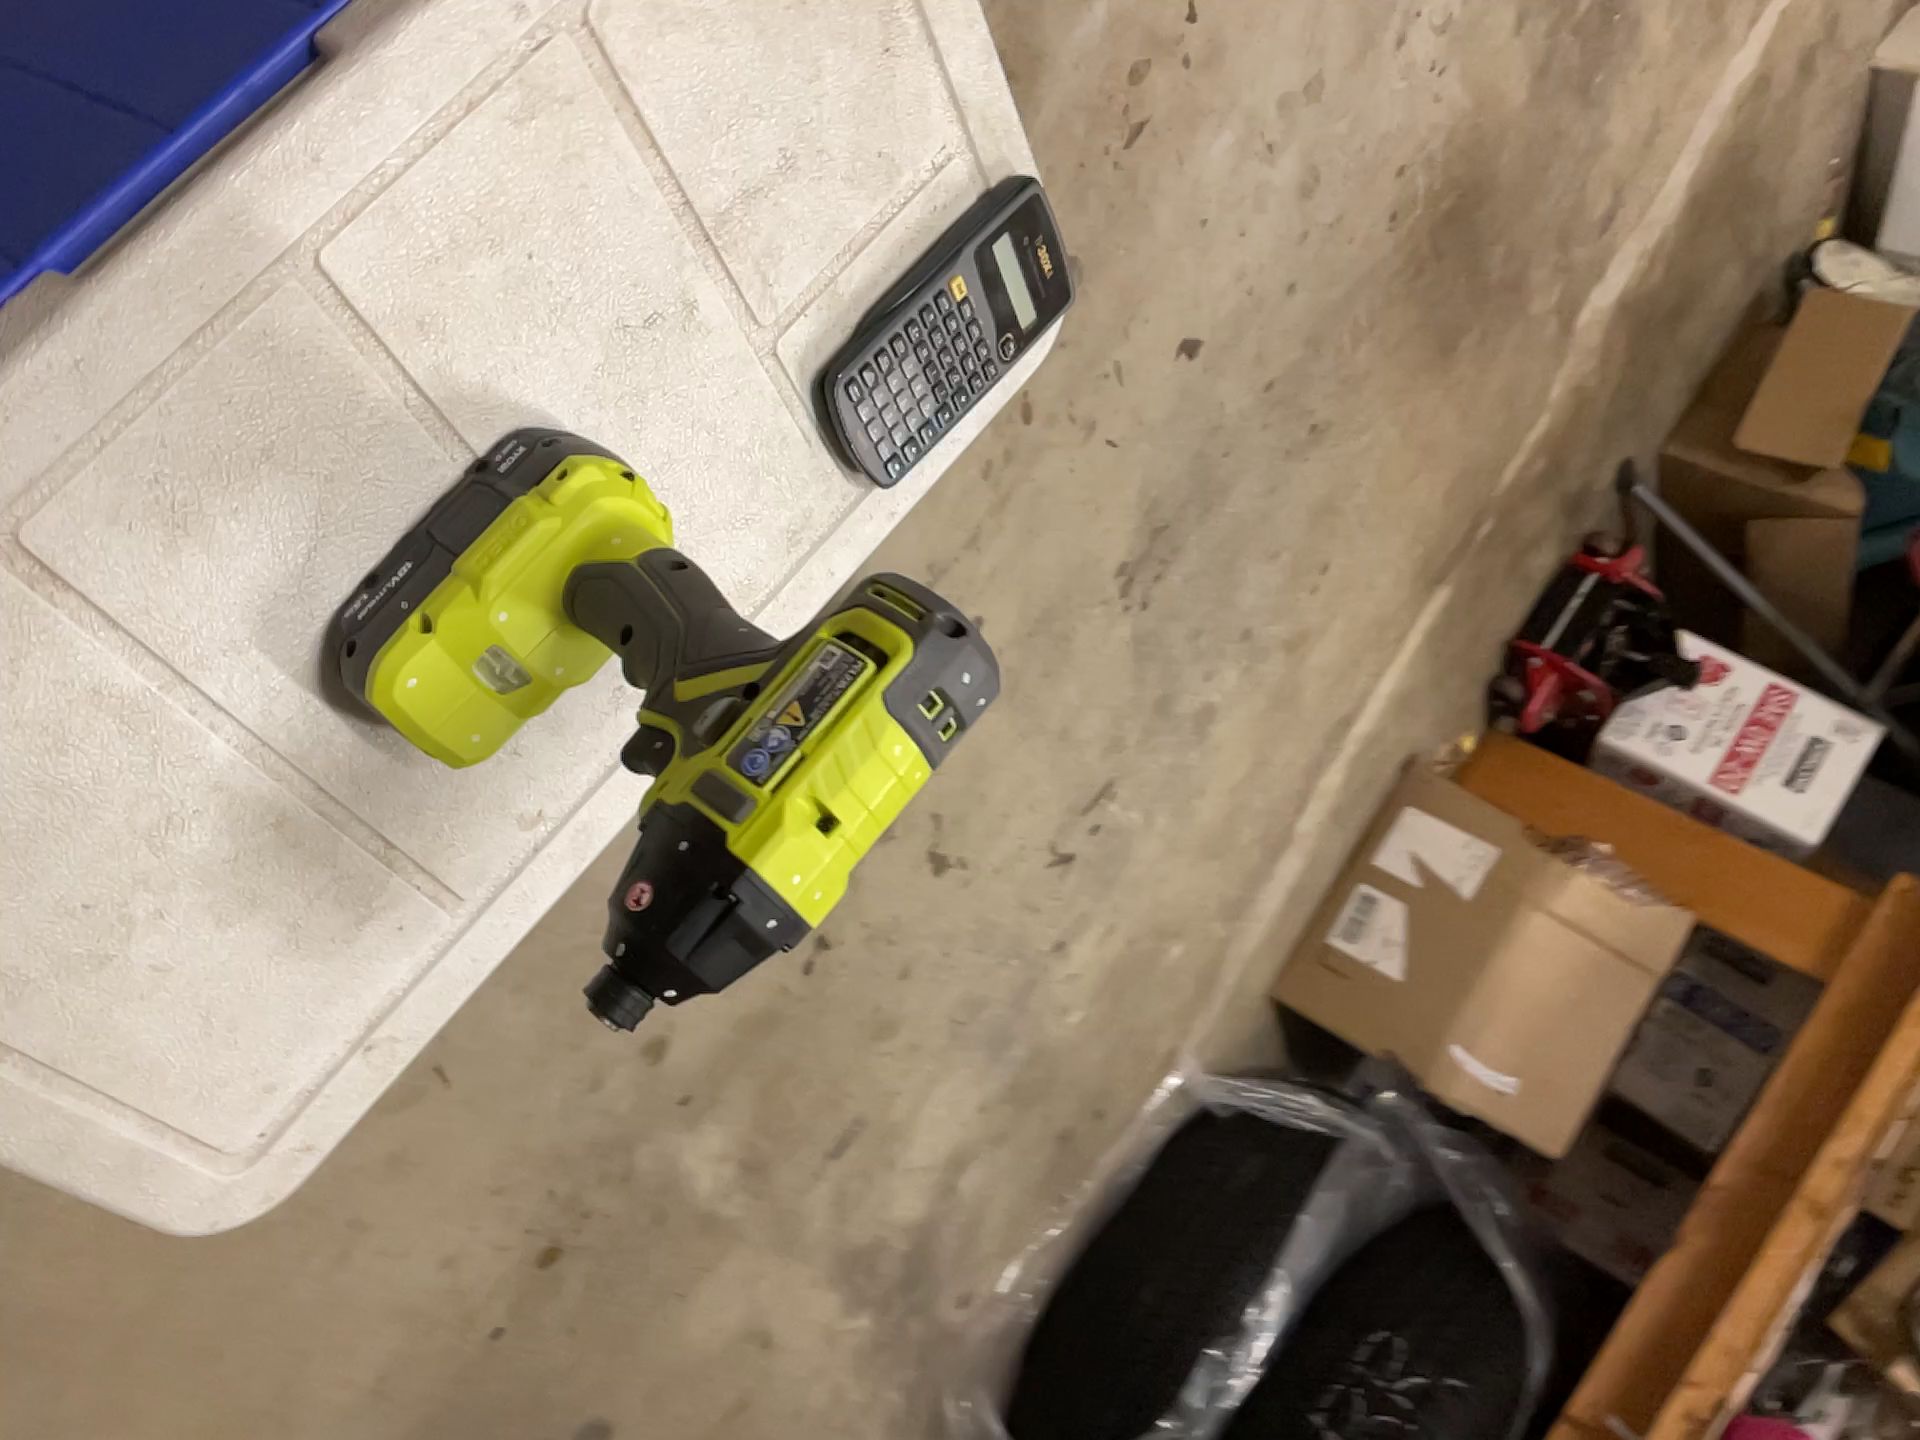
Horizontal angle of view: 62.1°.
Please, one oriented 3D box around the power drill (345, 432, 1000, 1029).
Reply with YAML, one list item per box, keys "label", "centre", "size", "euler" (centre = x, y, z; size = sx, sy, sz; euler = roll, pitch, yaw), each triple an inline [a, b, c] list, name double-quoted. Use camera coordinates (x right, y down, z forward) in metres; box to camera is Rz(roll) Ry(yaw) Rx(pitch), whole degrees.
- label: "power drill"
  centre: [-0.117, -0.005, 0.573]
  size: [0.171, 0.223, 0.080]
  euler: [-50, 143, -12]
